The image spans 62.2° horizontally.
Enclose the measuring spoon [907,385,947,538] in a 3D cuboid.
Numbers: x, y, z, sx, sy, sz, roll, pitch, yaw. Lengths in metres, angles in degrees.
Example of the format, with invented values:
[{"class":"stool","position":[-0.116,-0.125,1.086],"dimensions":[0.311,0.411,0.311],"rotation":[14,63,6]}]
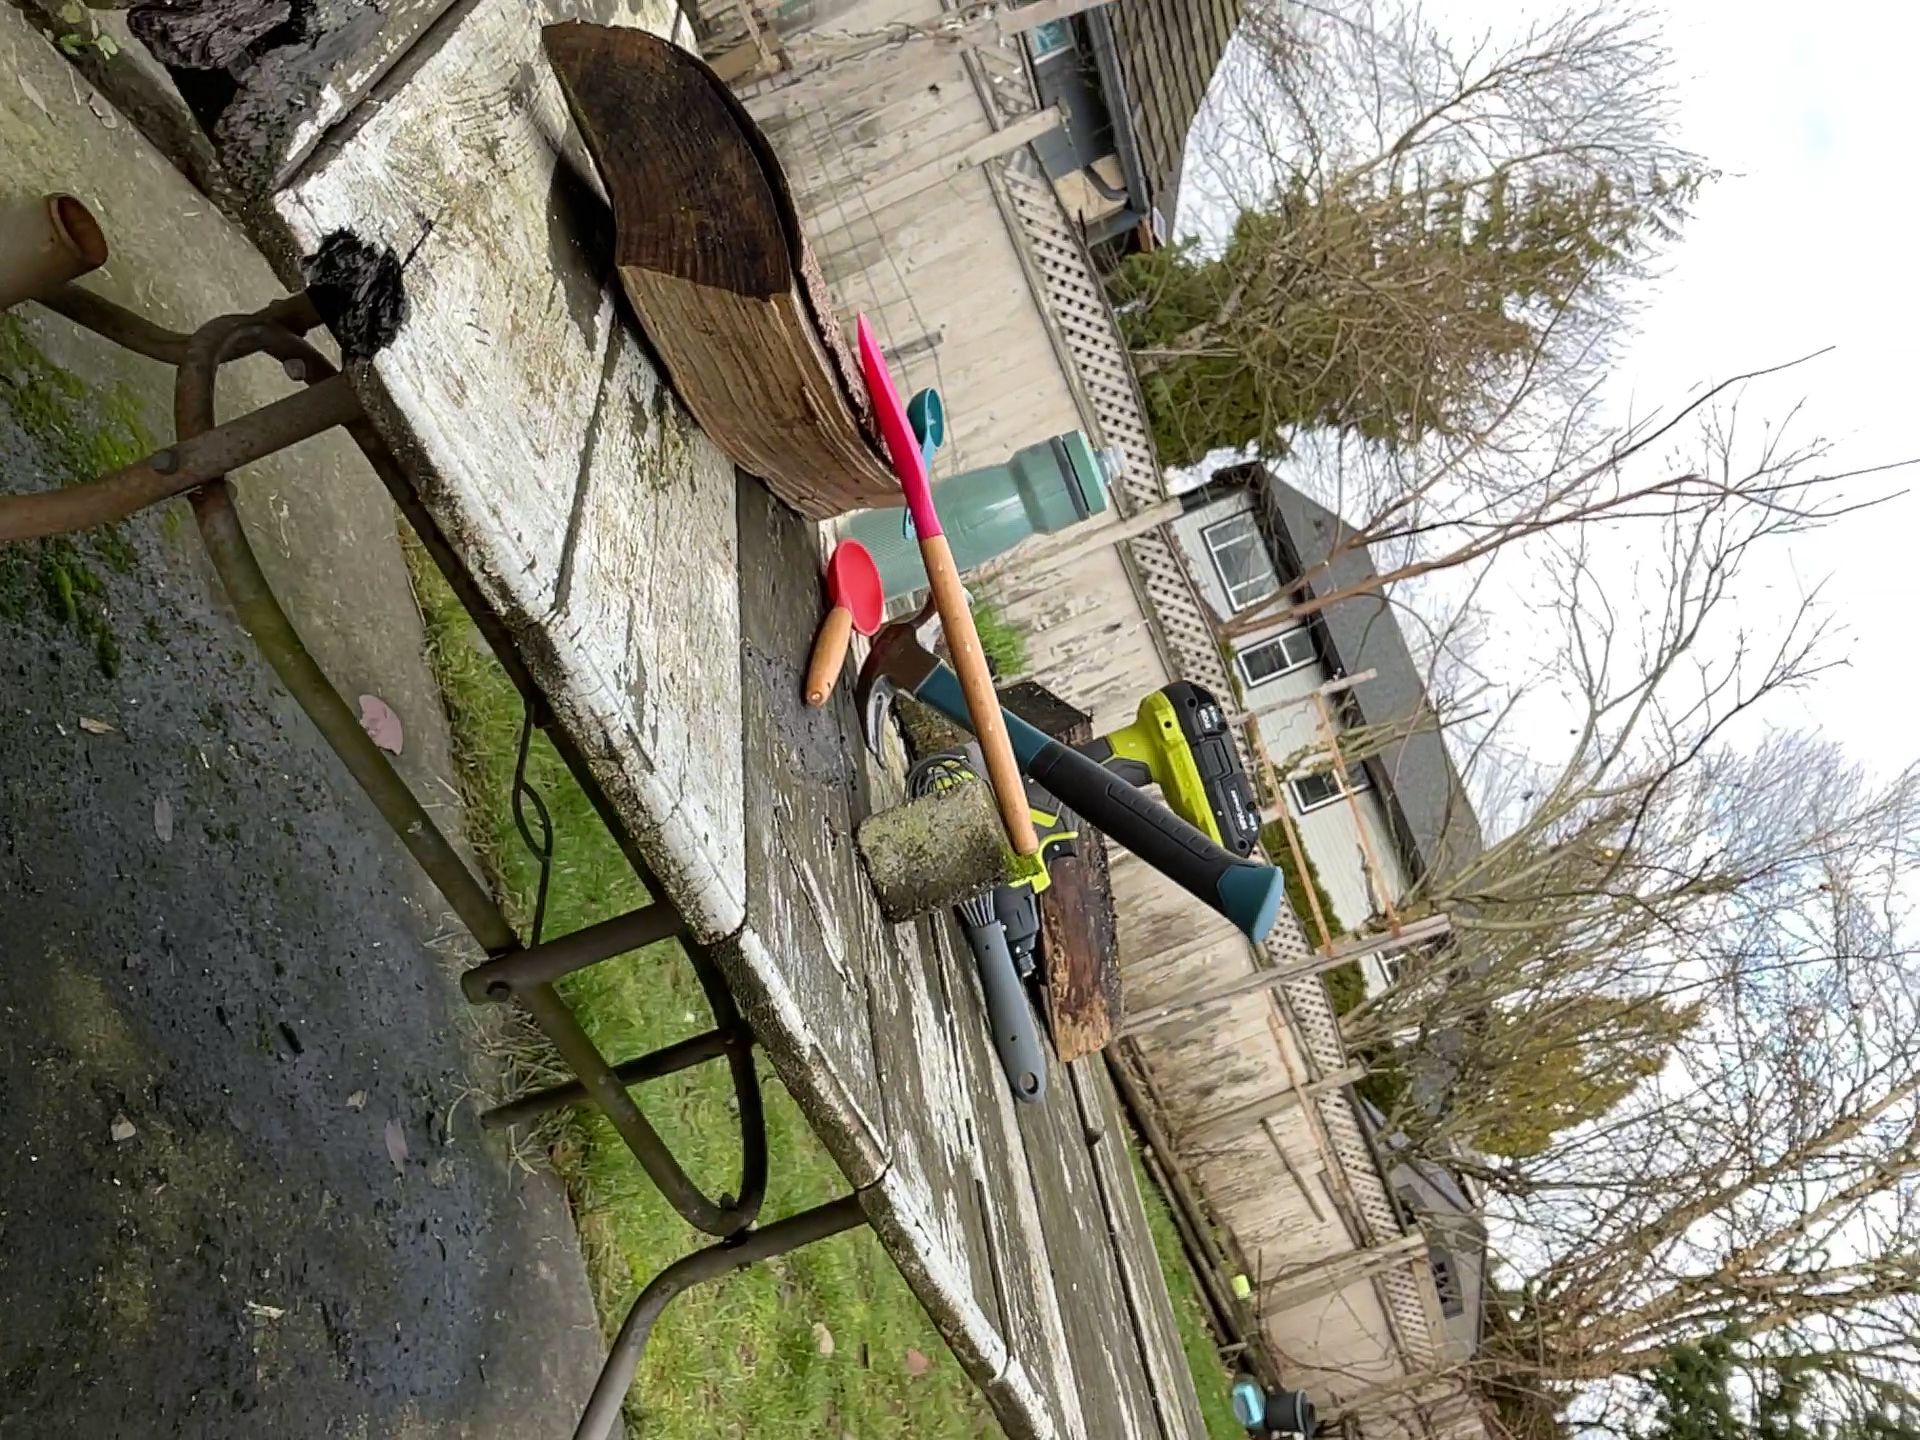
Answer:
[{"class":"measuring spoon","position":[-0.031,-0.171,1.064],"dimensions":[0.042,0.021,0.129],"rotation":[63,30,-51]}]

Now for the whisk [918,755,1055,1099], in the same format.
[{"class":"whisk","position":[0.022,0.139,1.066],"dimensions":[0.055,0.055,0.239],"rotation":[-20,92,-77]}]

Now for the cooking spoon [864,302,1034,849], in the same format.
[{"class":"cooking spoon","position":[-0.009,-0.081,0.898],"dimensions":[0.068,0.017,0.319],"rotation":[10,63,-85]}]

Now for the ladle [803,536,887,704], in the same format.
[{"class":"ladle","position":[-0.076,-0.060,1.017],"dimensions":[0.315,0.031,0.069],"rotation":[-85,156,-73]}]

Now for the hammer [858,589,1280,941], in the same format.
[{"class":"hammer","position":[0.062,0.030,0.989],"dimensions":[0.331,0.128,0.033],"rotation":[34,-13,33]}]

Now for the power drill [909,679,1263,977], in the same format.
[{"class":"power drill","position":[0.094,0.075,1.151],"dimensions":[0.080,0.223,0.171],"rotation":[134,-63,-88]}]
